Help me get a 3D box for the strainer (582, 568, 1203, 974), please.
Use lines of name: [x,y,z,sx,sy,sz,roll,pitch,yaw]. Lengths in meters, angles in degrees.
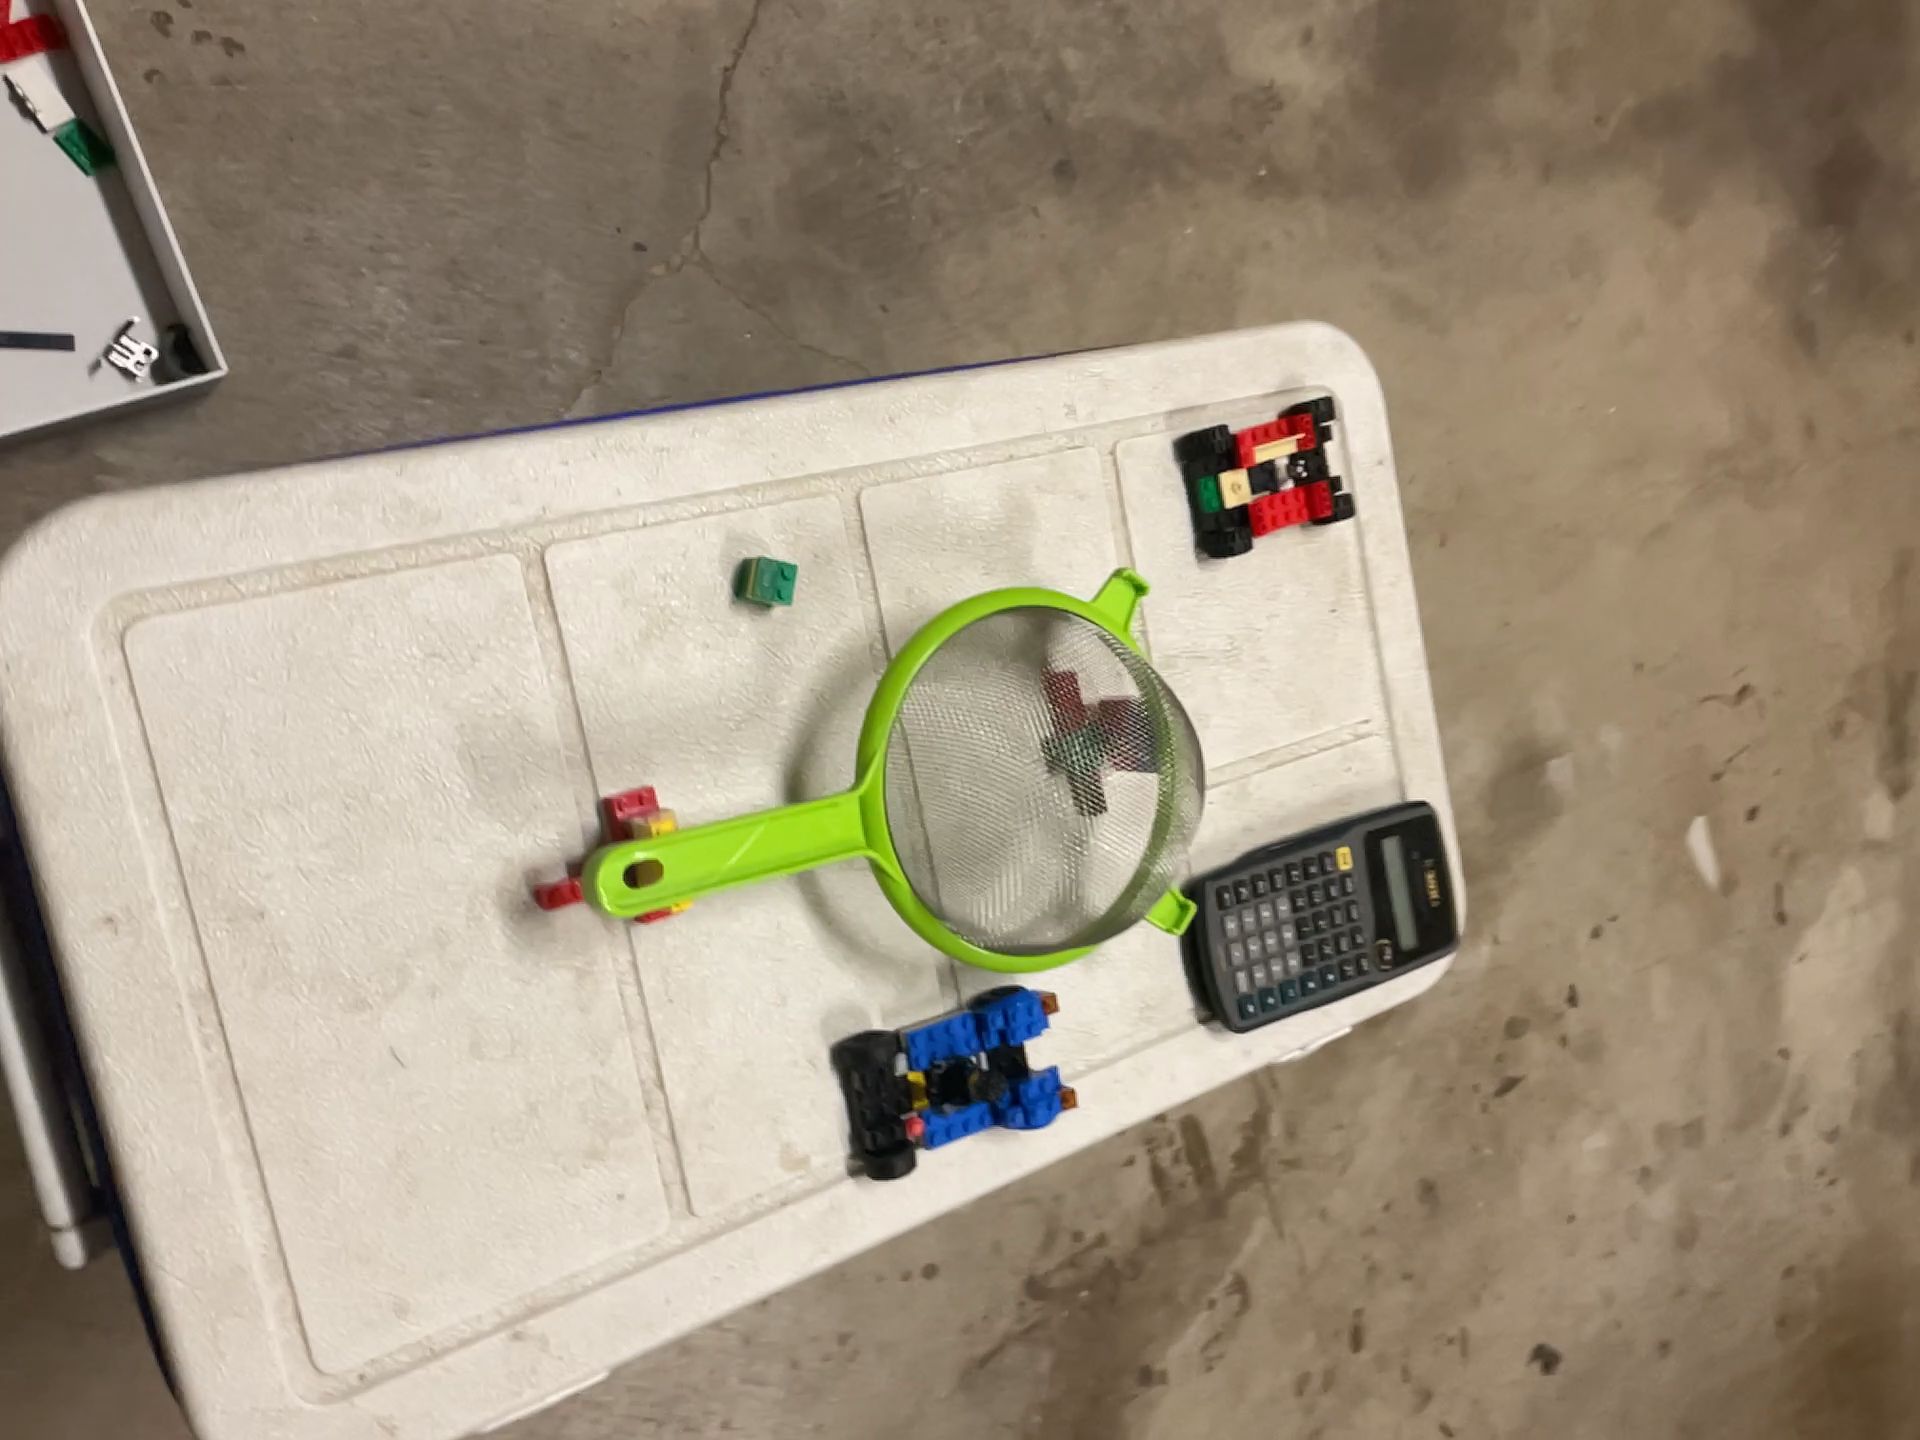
strainer: [-0.004,0.033,0.574,0.256,0.069,0.151,-12,98,-32]
